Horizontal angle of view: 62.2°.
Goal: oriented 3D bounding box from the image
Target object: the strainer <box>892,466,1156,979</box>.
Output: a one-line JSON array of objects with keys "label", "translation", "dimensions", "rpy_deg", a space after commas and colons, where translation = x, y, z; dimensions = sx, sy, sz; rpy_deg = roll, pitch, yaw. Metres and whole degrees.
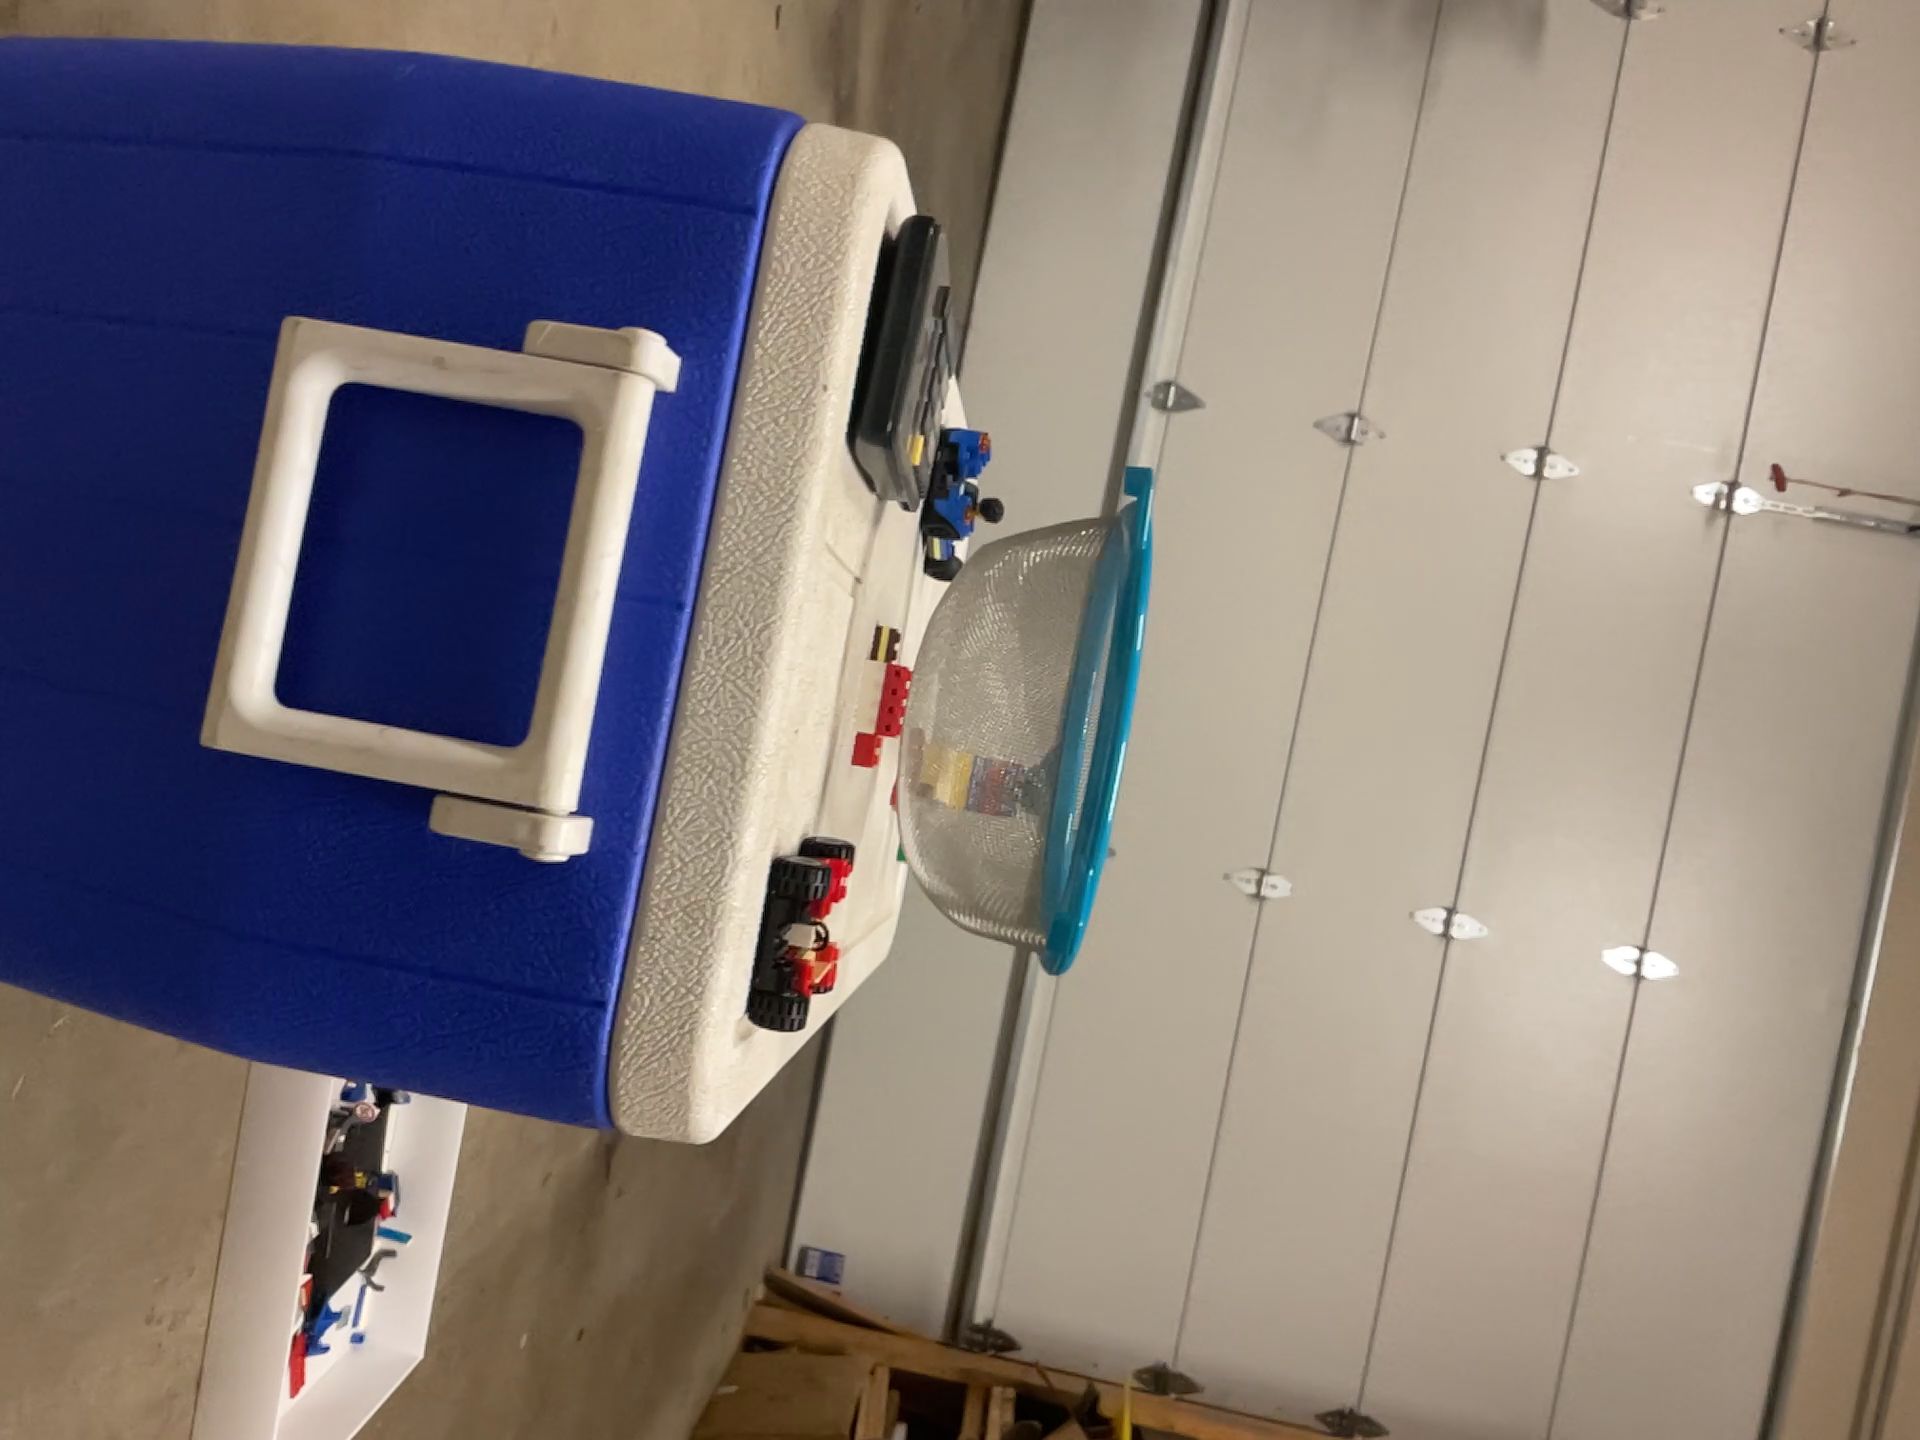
[{"label": "strainer", "translation": [0.016, 0.011, 0.762], "dimensions": [0.340, 0.095, 0.211], "rpy_deg": [110, -10, -81]}]
